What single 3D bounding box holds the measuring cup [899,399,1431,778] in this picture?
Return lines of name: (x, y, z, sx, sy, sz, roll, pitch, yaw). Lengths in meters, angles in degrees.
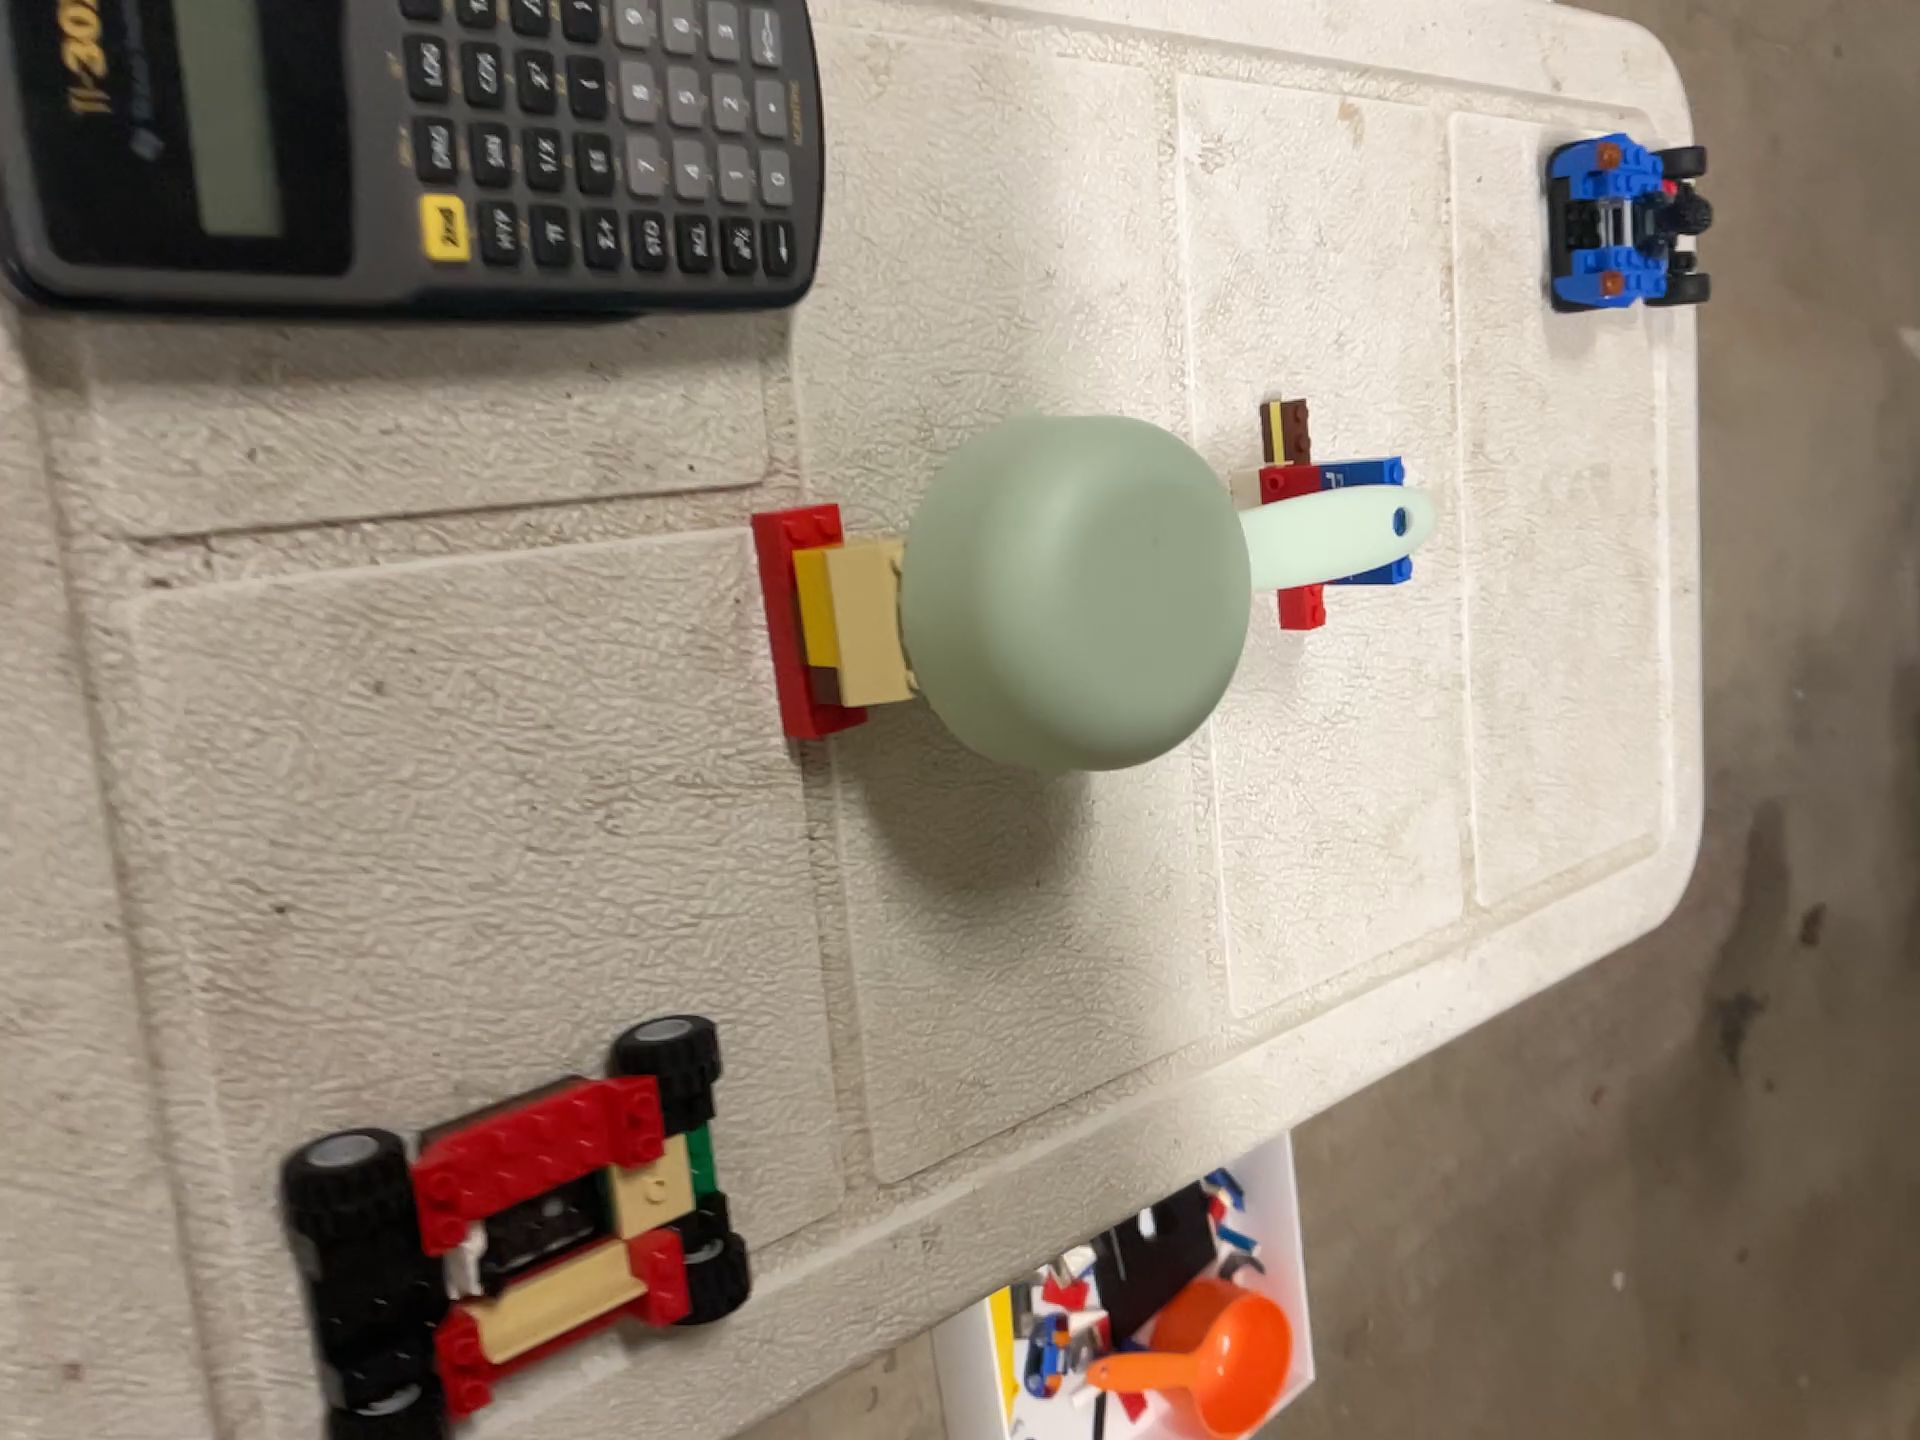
measuring cup: (0.064, -0.035, 0.361, 0.168, 0.038, 0.083, -14, 103, -35)
